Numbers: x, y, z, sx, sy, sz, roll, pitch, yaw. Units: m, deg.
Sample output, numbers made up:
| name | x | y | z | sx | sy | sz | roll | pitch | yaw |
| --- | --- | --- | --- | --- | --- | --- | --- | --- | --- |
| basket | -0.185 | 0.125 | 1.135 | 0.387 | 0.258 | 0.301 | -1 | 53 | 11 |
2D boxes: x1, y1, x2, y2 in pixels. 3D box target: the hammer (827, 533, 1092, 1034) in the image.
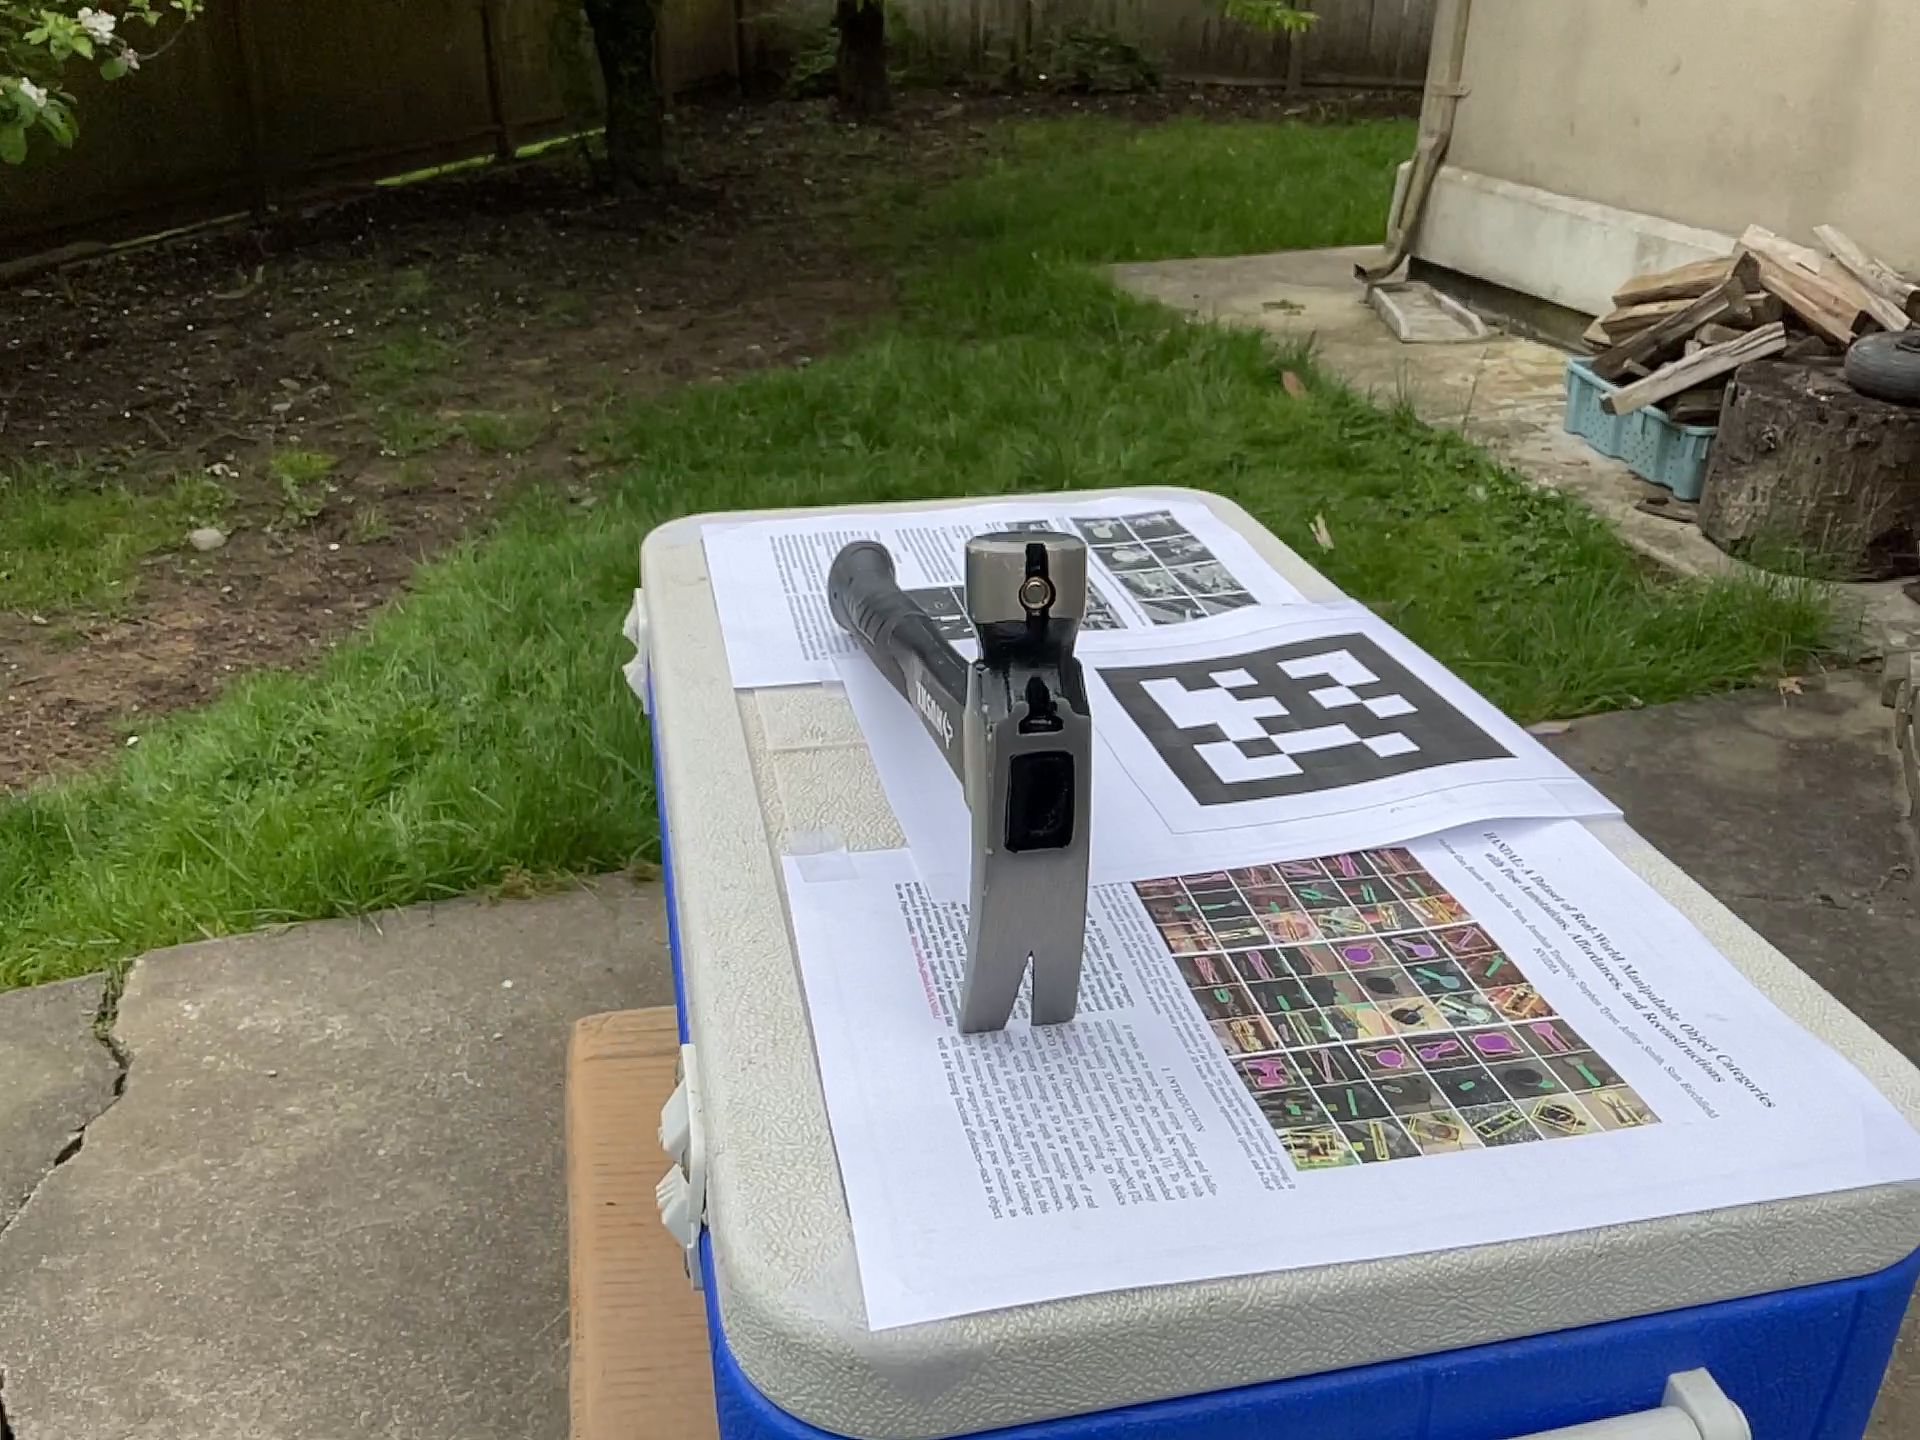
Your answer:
| name | x | y | z | sx | sy | sz | roll | pitch | yaw |
| --- | --- | --- | --- | --- | --- | --- | --- | --- | --- |
| hammer | -0.013 | -0.012 | 0.578 | 0.035 | 0.146 | 0.335 | -4 | 14 | -11 |
